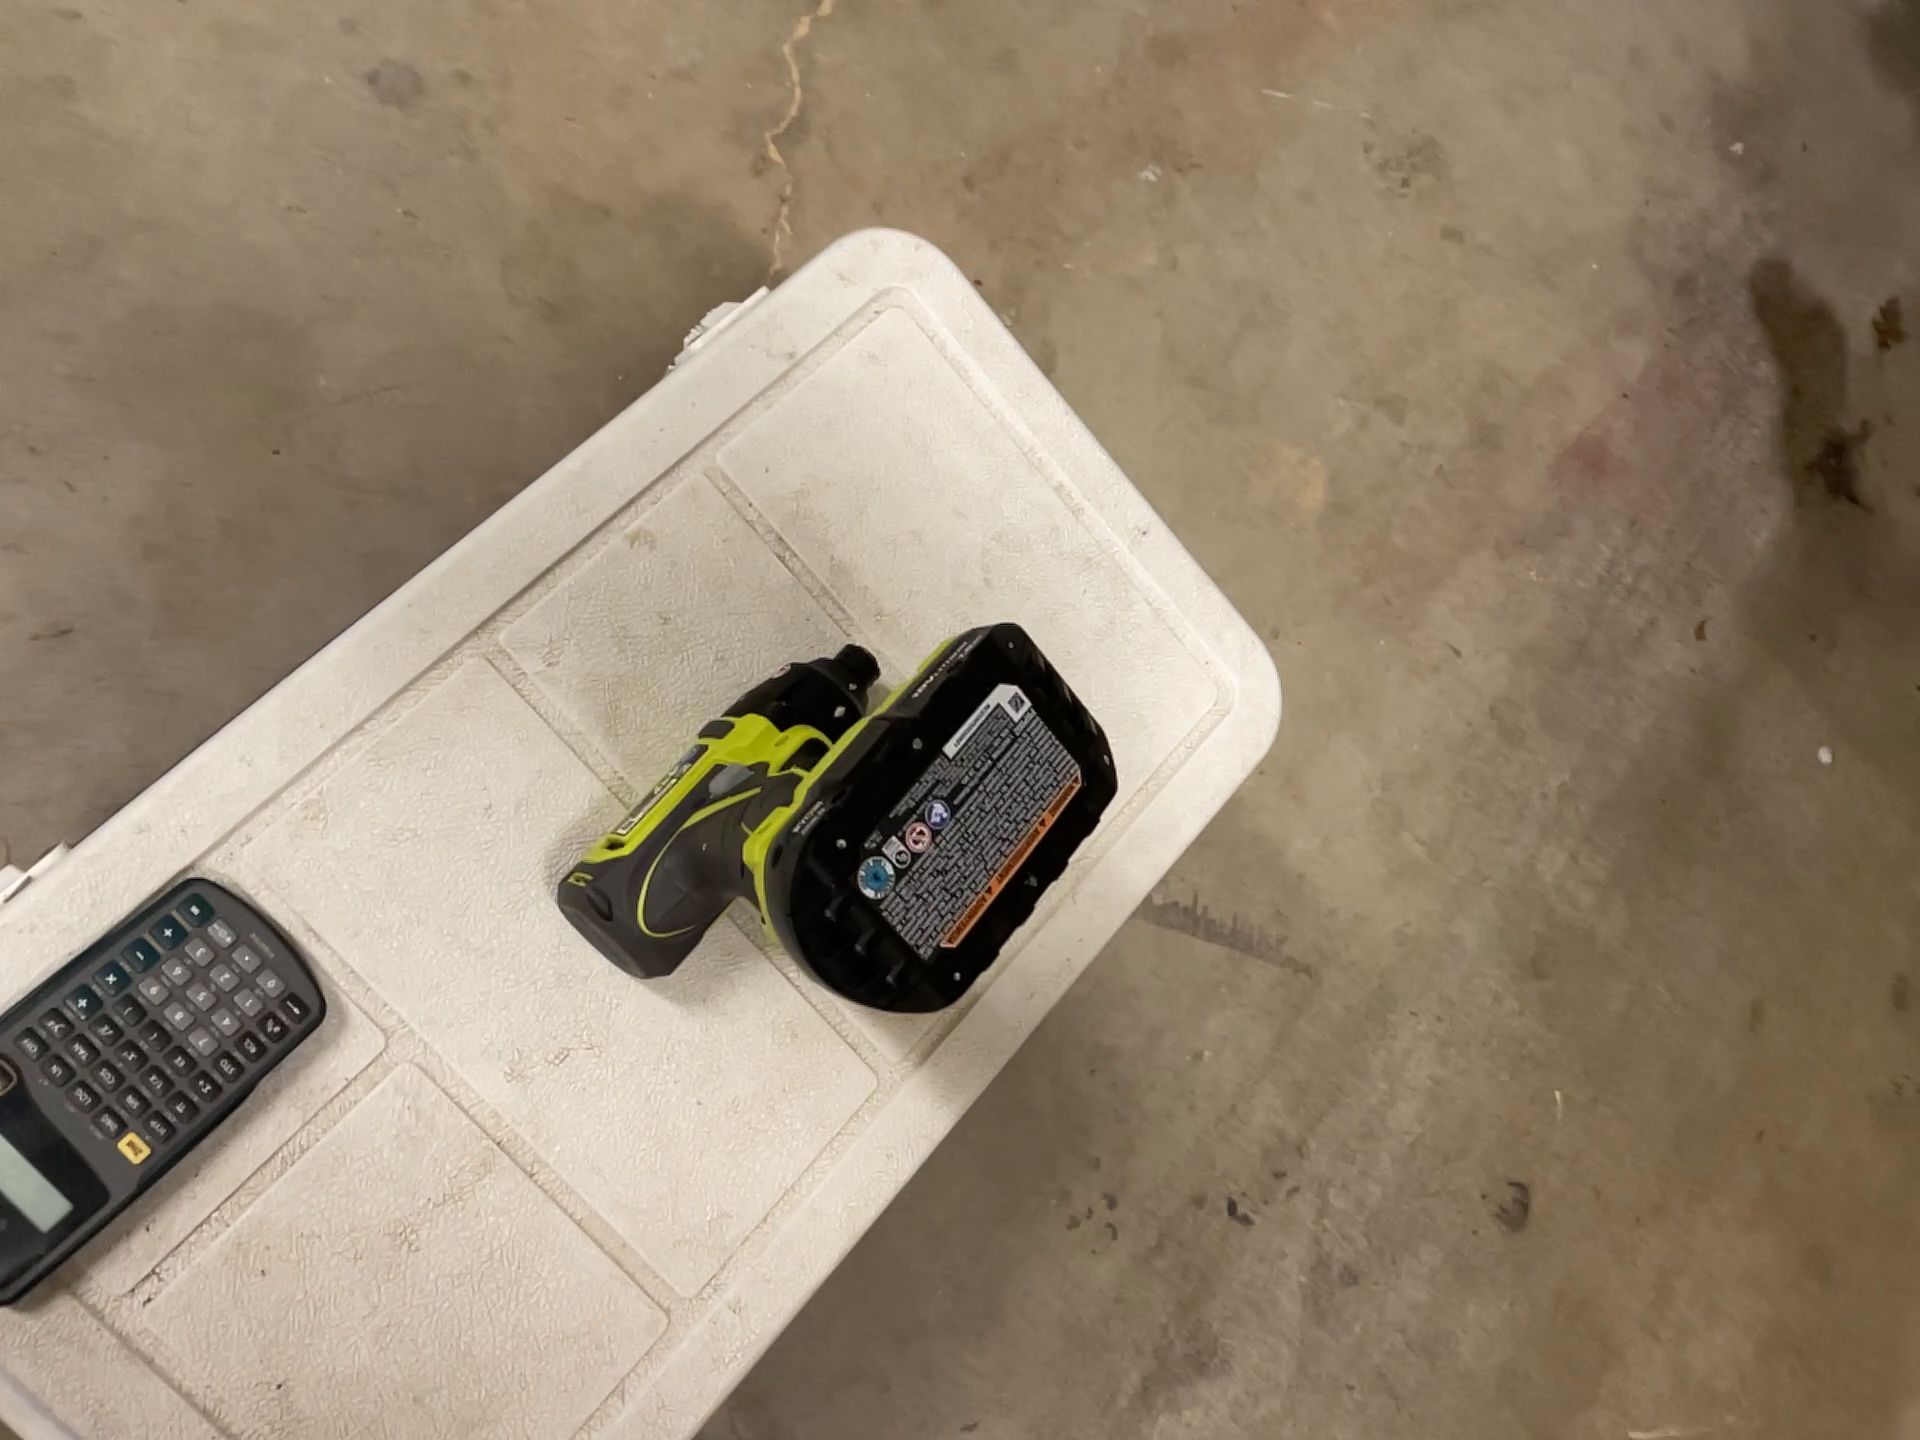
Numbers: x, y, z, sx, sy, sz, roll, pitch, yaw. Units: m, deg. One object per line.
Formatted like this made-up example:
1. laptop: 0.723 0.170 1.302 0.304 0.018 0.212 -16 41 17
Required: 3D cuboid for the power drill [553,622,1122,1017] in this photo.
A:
1. power drill: -0.050 0.028 0.603 0.171 0.223 0.080 -48 113 -23
